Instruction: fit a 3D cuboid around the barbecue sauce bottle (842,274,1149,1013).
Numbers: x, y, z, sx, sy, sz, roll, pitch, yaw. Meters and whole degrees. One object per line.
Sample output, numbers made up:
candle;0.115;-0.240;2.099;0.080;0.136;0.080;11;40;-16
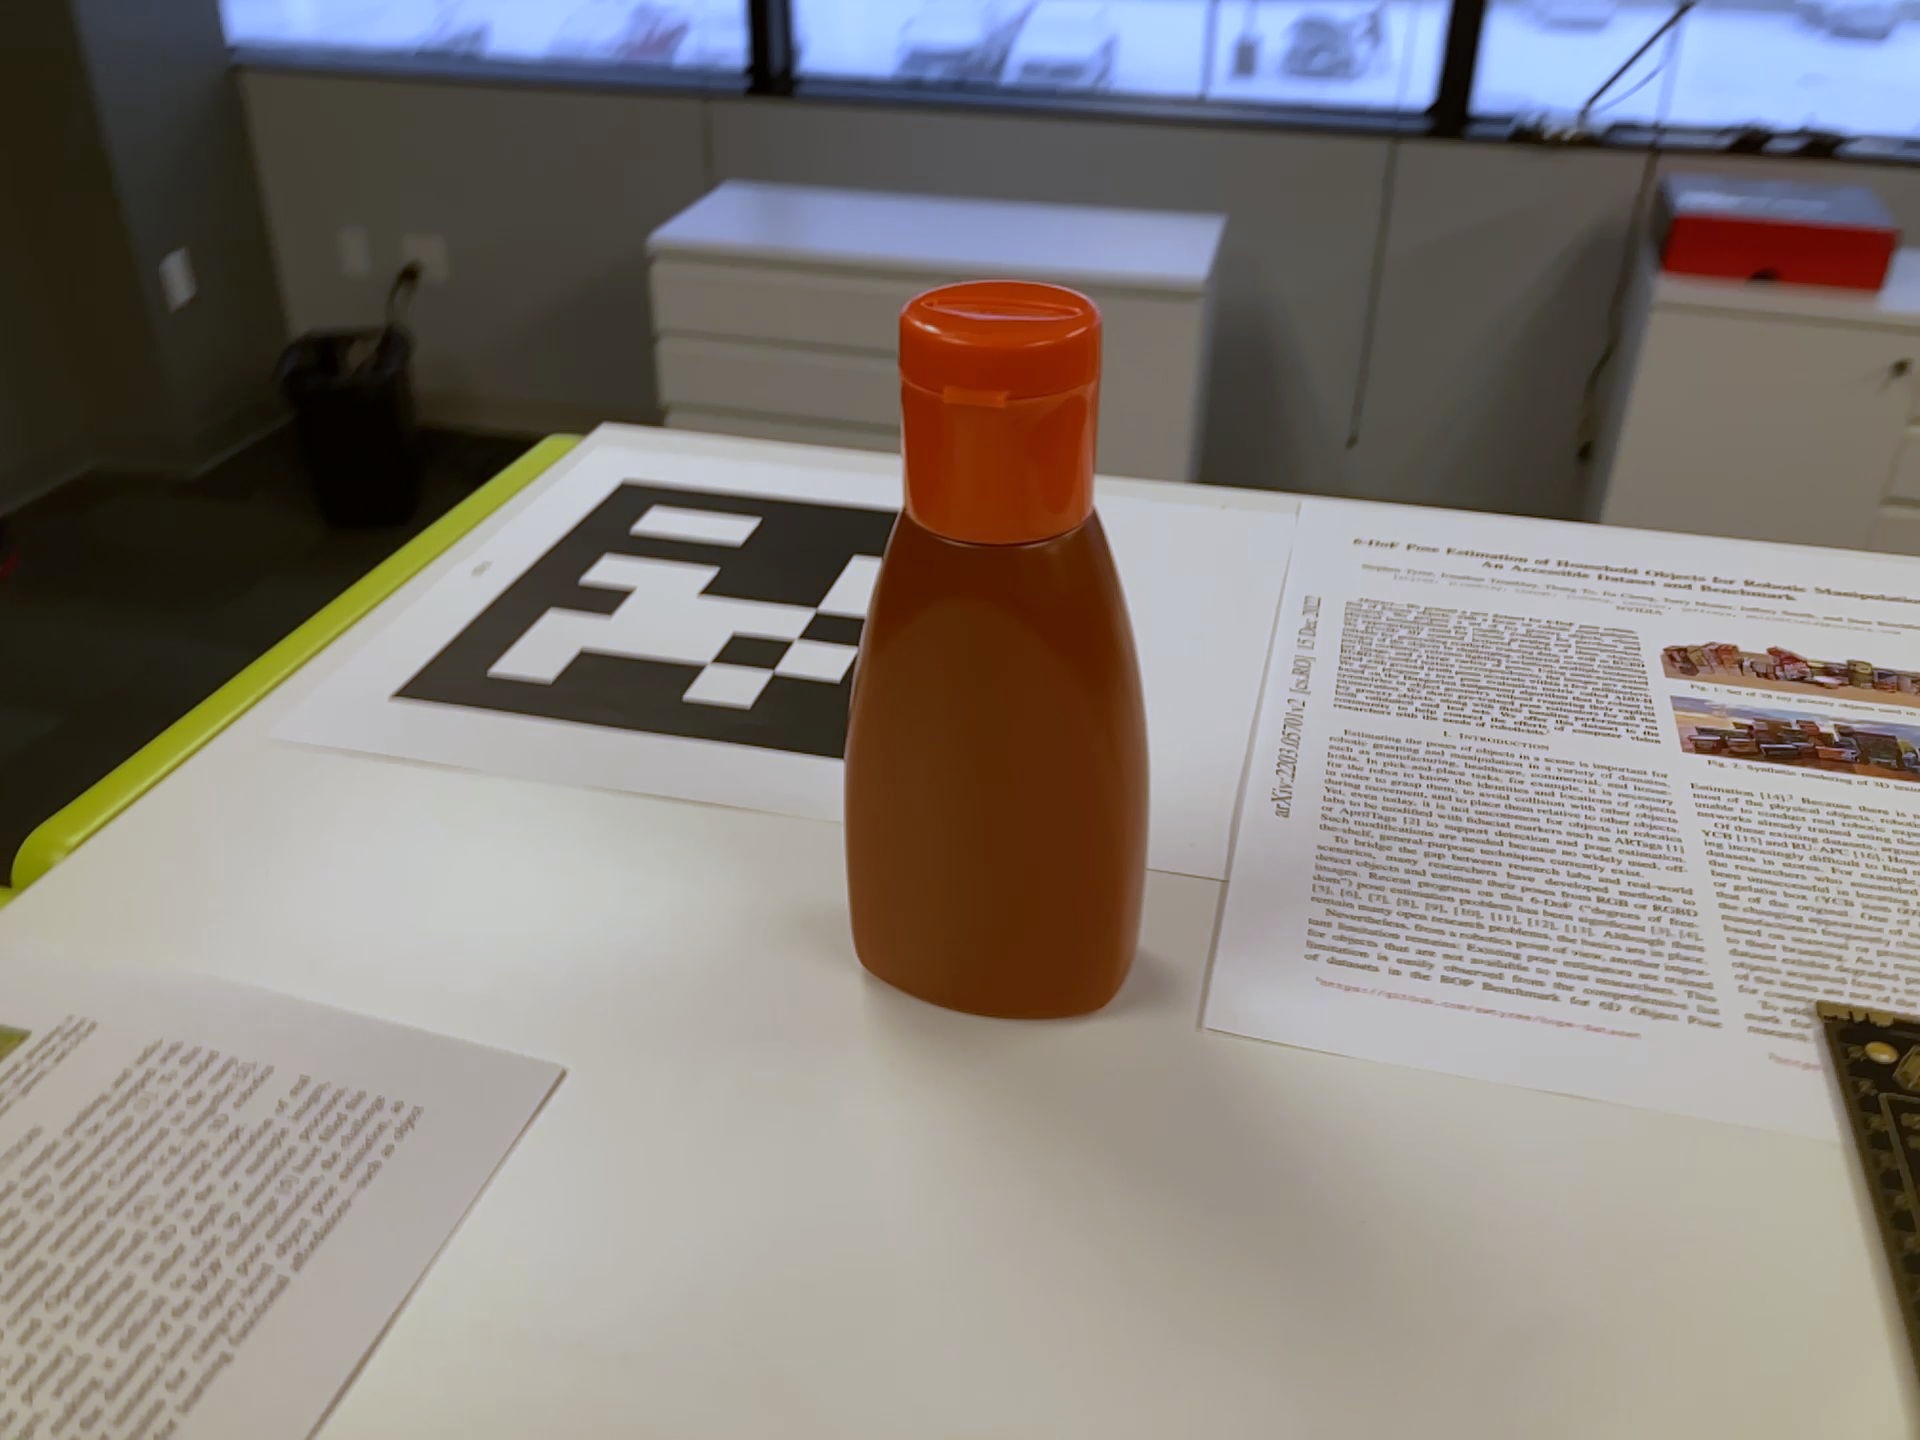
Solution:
barbecue sauce bottle;0.007;-0.011;0.319;0.065;0.148;0.043;8;32;14
